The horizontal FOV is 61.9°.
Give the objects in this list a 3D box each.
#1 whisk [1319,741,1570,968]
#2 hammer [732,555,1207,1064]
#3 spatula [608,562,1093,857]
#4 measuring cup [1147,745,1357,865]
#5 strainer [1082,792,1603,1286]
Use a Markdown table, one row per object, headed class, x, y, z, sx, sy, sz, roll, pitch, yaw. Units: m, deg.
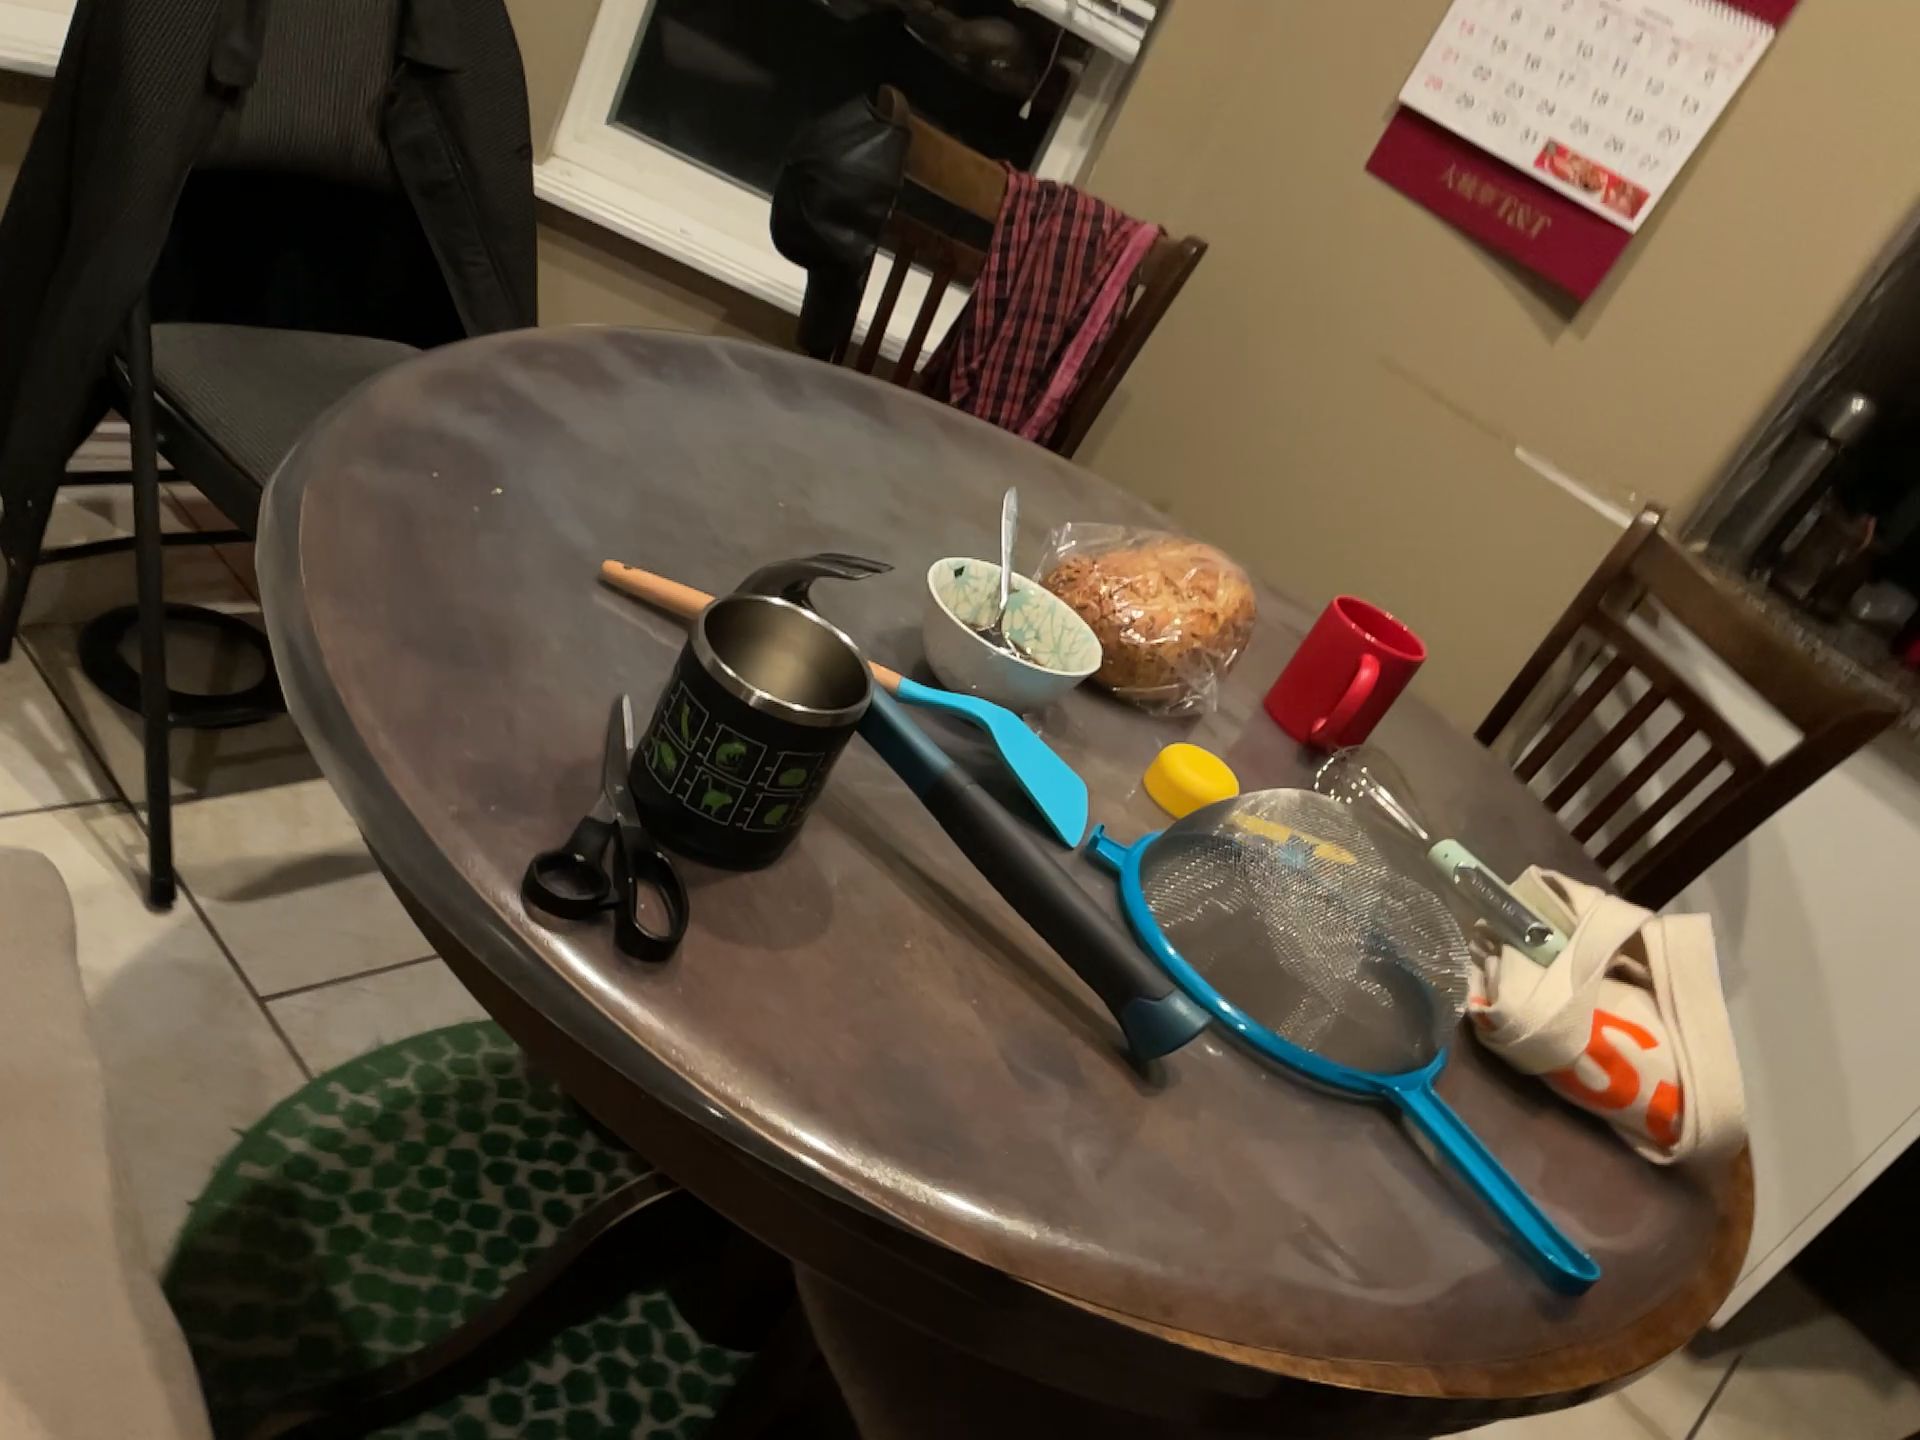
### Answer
| class | x | y | z | sx | sy | sz | roll | pitch | yaw |
| --- | --- | --- | --- | --- | --- | --- | --- | --- | --- |
| whisk | 0.314 | 0.084 | 1.056 | 0.059 | 0.058 | 0.246 | 48 | 2 | -37 |
| hammer | -0.004 | 0.045 | 0.814 | 0.331 | 0.128 | 0.033 | 46 | 33 | 14 |
| spatula | -0.060 | -0.016 | 0.936 | 0.317 | 0.044 | 0.082 | 23 | 28 | -2 |
| measuring cup | 0.196 | 0.057 | 1.040 | 0.156 | 0.029 | 0.062 | 21 | 28 | -12 |
| strainer | 0.232 | 0.141 | 0.863 | 0.211 | 0.095 | 0.341 | 4 | 32 | -38 |
